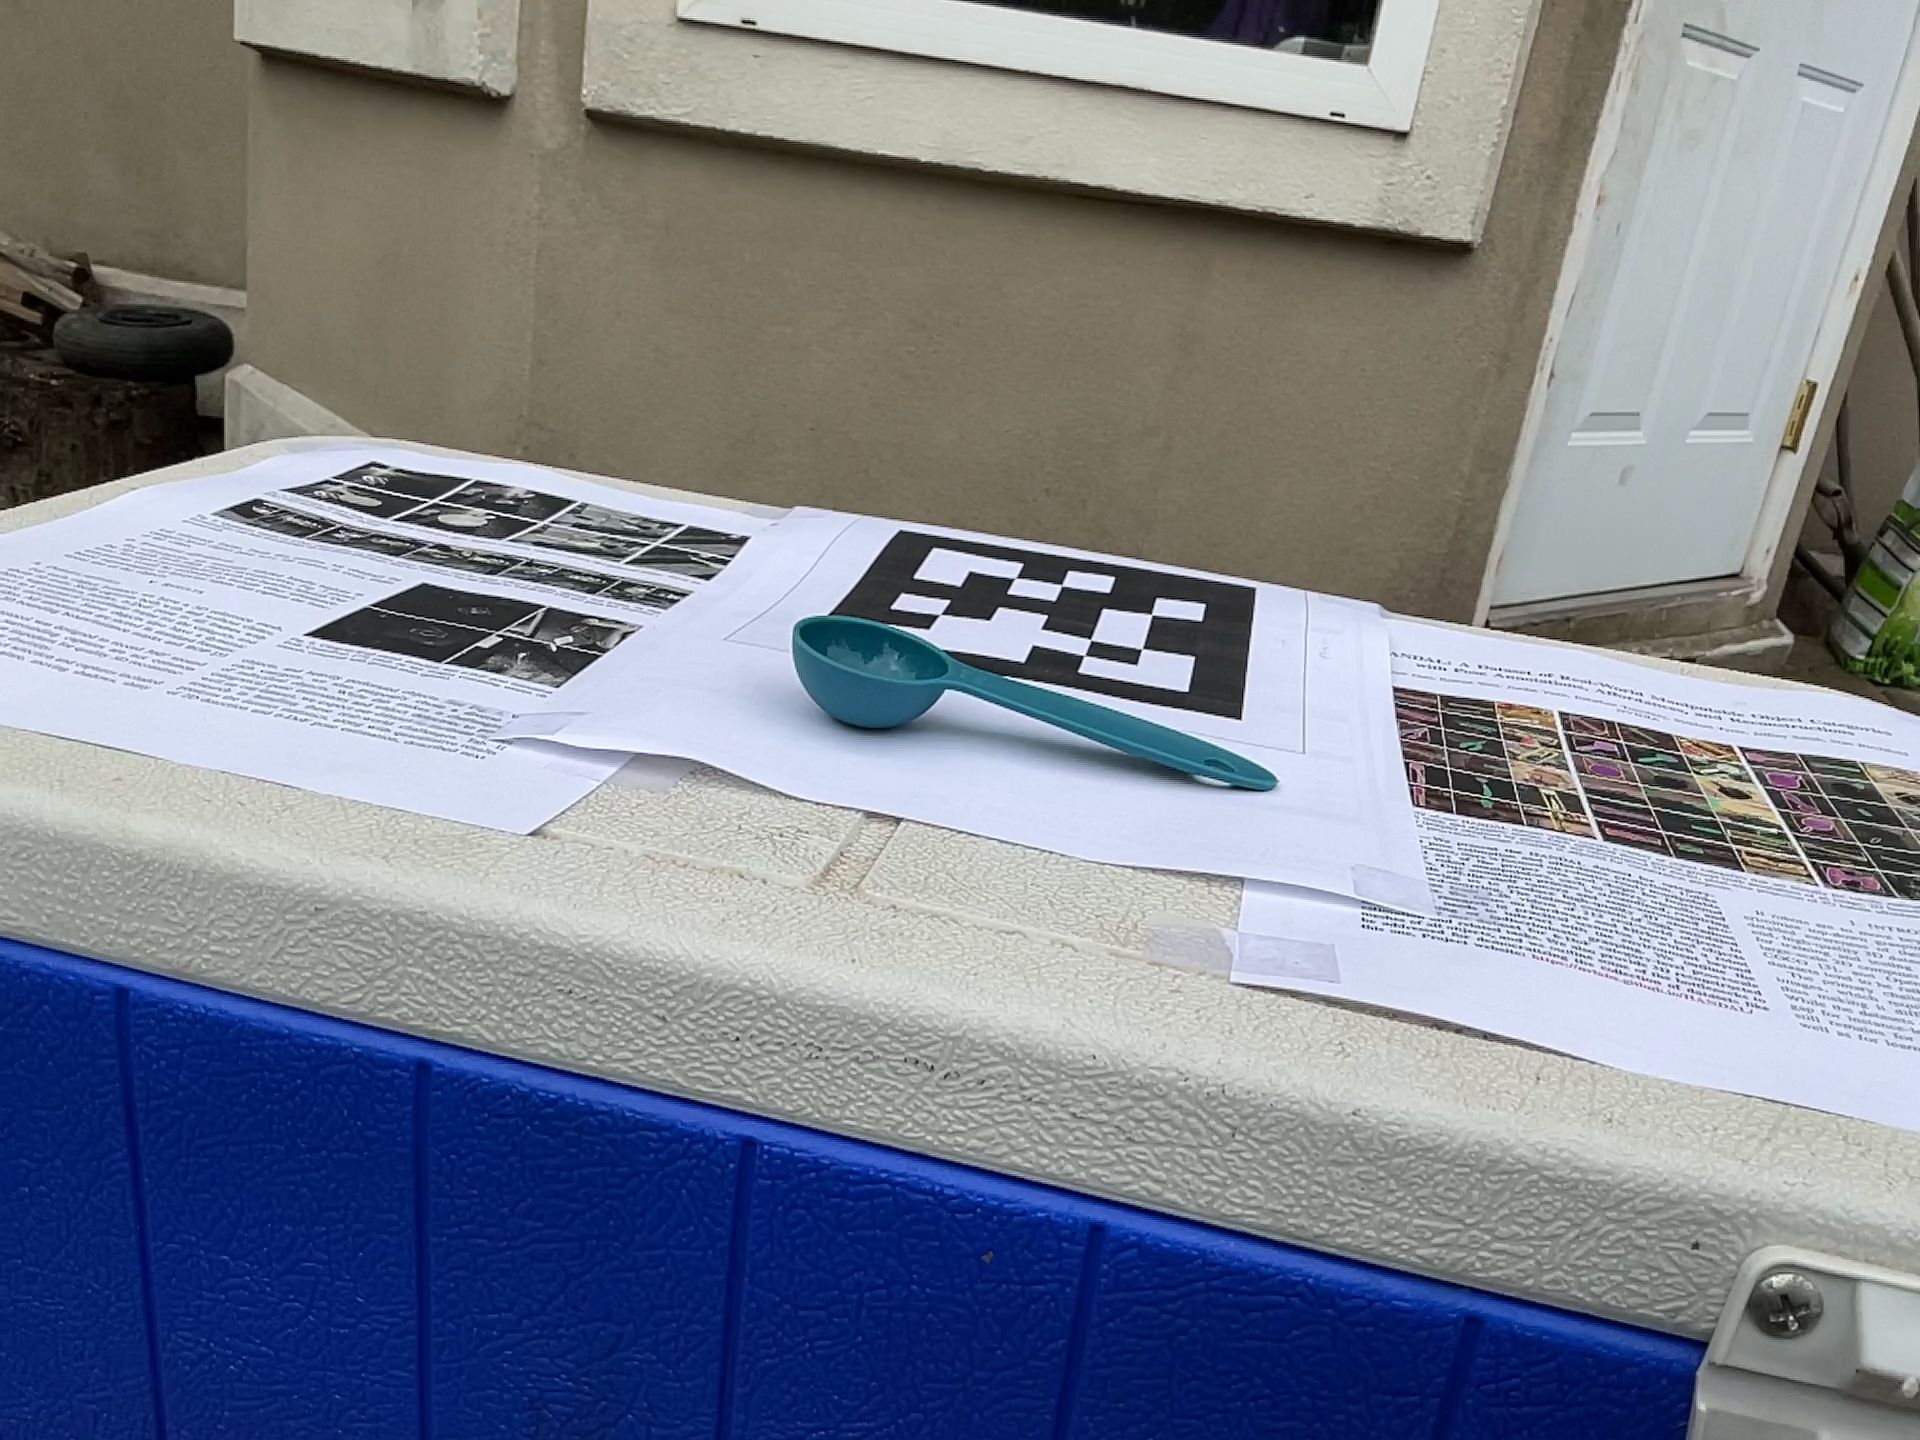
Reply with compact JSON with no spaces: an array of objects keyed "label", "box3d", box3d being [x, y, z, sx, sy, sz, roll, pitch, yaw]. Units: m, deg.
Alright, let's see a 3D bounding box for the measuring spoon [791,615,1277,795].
[{"label":"measuring spoon","box3d":[0.017,0.004,0.408,0.128,0.021,0.042,18,21,1]}]
